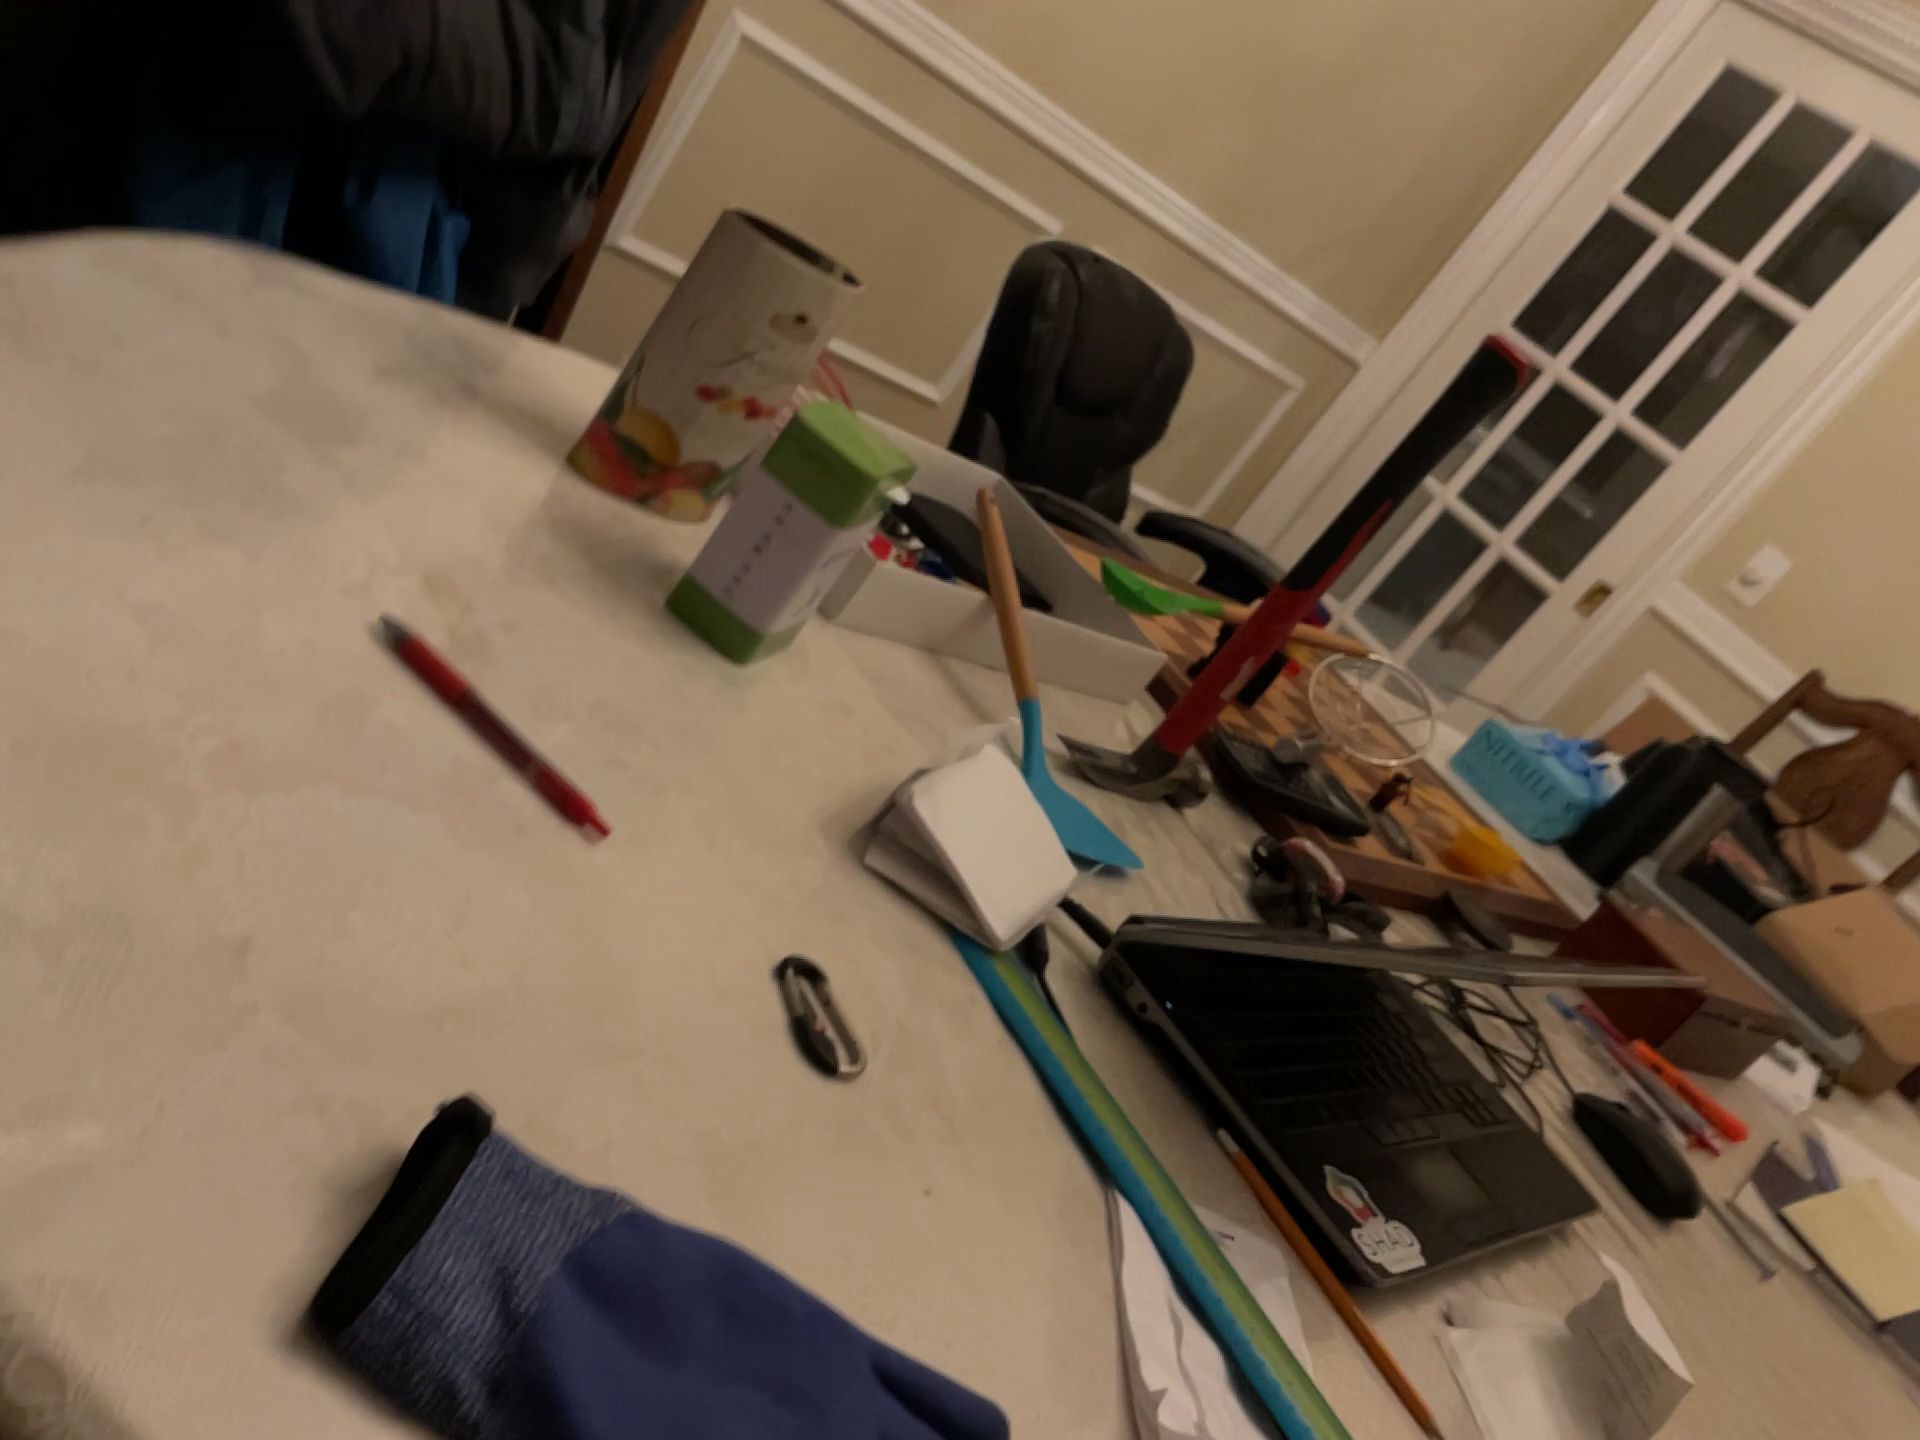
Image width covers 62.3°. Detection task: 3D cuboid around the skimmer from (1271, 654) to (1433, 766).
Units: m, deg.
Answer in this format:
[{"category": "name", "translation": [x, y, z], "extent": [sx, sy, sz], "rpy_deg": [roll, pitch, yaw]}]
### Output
[{"category": "skimmer", "translation": [0.342, -0.005, 1.407], "extent": [0.127, 0.090, 0.363], "rpy_deg": [46, 18, 15]}]

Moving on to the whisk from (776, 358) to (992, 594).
[{"category": "whisk", "translation": [-0.073, -0.194, 1.210], "extent": [0.295, 0.073, 0.073], "rpy_deg": [43, 35, -27]}]

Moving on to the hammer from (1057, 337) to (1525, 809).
[{"category": "hammer", "translation": [0.224, -0.096, 1.066], "extent": [0.143, 0.386, 0.038], "rpy_deg": [17, 29, -43]}]

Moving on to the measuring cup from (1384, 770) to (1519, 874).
[{"category": "measuring cup", "translation": [0.455, 0.096, 1.502], "extent": [0.062, 0.029, 0.157], "rpy_deg": [11, 20, -45]}]

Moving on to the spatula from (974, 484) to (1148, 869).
[{"category": "spatula", "translation": [0.050, -0.037, 1.065], "extent": [0.082, 0.044, 0.318], "rpy_deg": [17, 49, -40]}]

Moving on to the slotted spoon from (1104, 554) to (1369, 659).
[{"category": "slotted spoon", "translation": [0.247, -0.089, 1.392], "extent": [0.313, 0.031, 0.070], "rpy_deg": [12, 29, -32]}]
